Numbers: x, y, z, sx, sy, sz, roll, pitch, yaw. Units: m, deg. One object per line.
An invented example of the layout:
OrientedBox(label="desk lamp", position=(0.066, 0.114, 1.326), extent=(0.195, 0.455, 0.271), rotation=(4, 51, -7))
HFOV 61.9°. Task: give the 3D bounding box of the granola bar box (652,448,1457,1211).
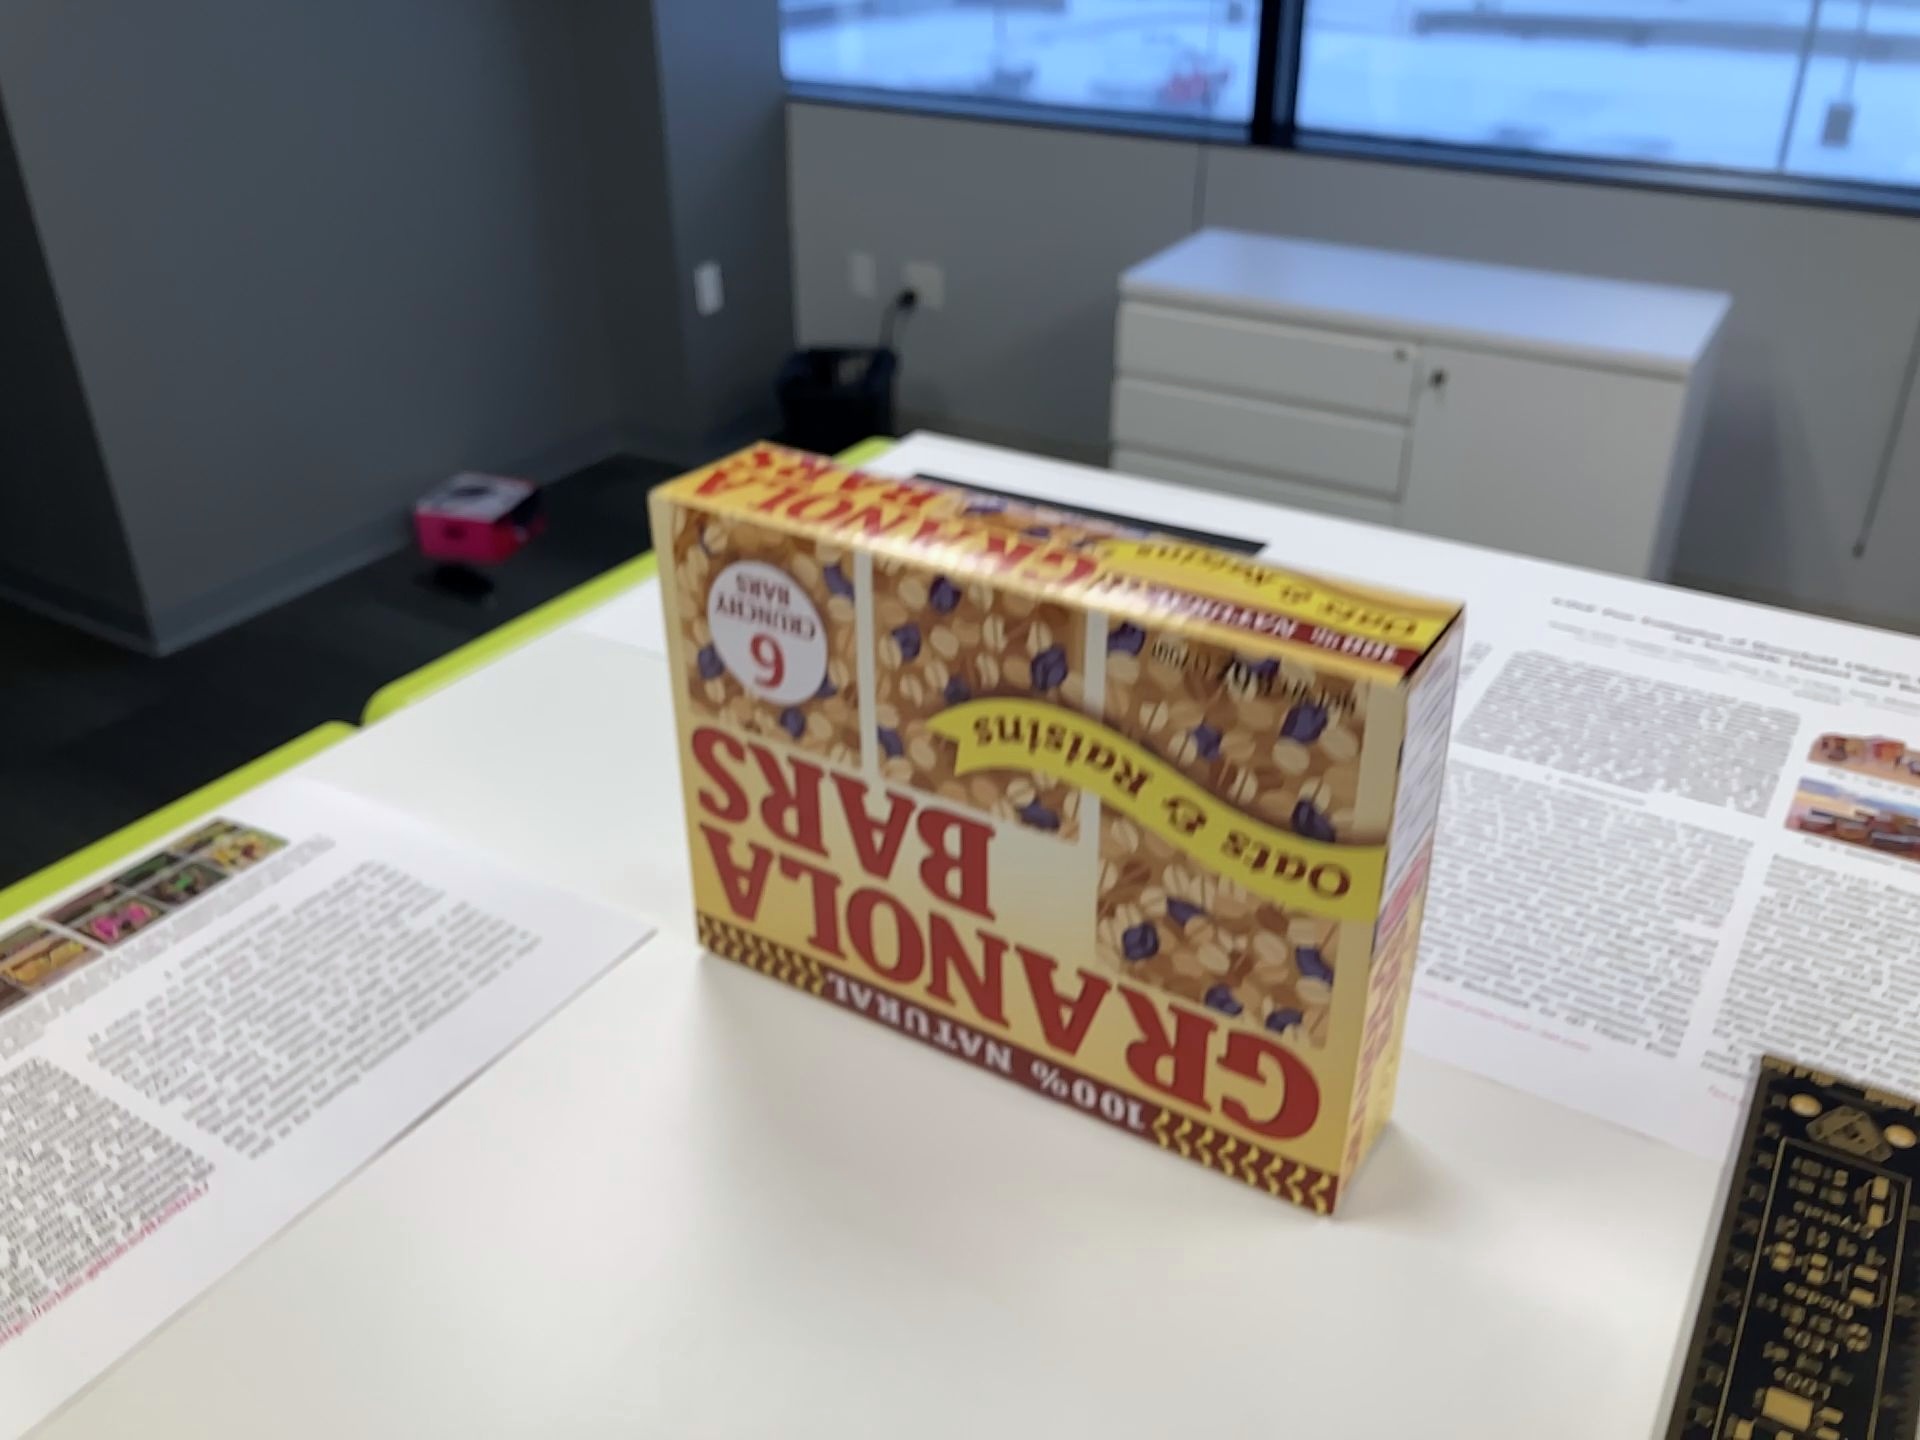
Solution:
OrientedBox(label="granola bar box", position=(0.013, 0.018, 0.346), extent=(0.165, 0.124, 0.039), rotation=(17, 34, 28))
